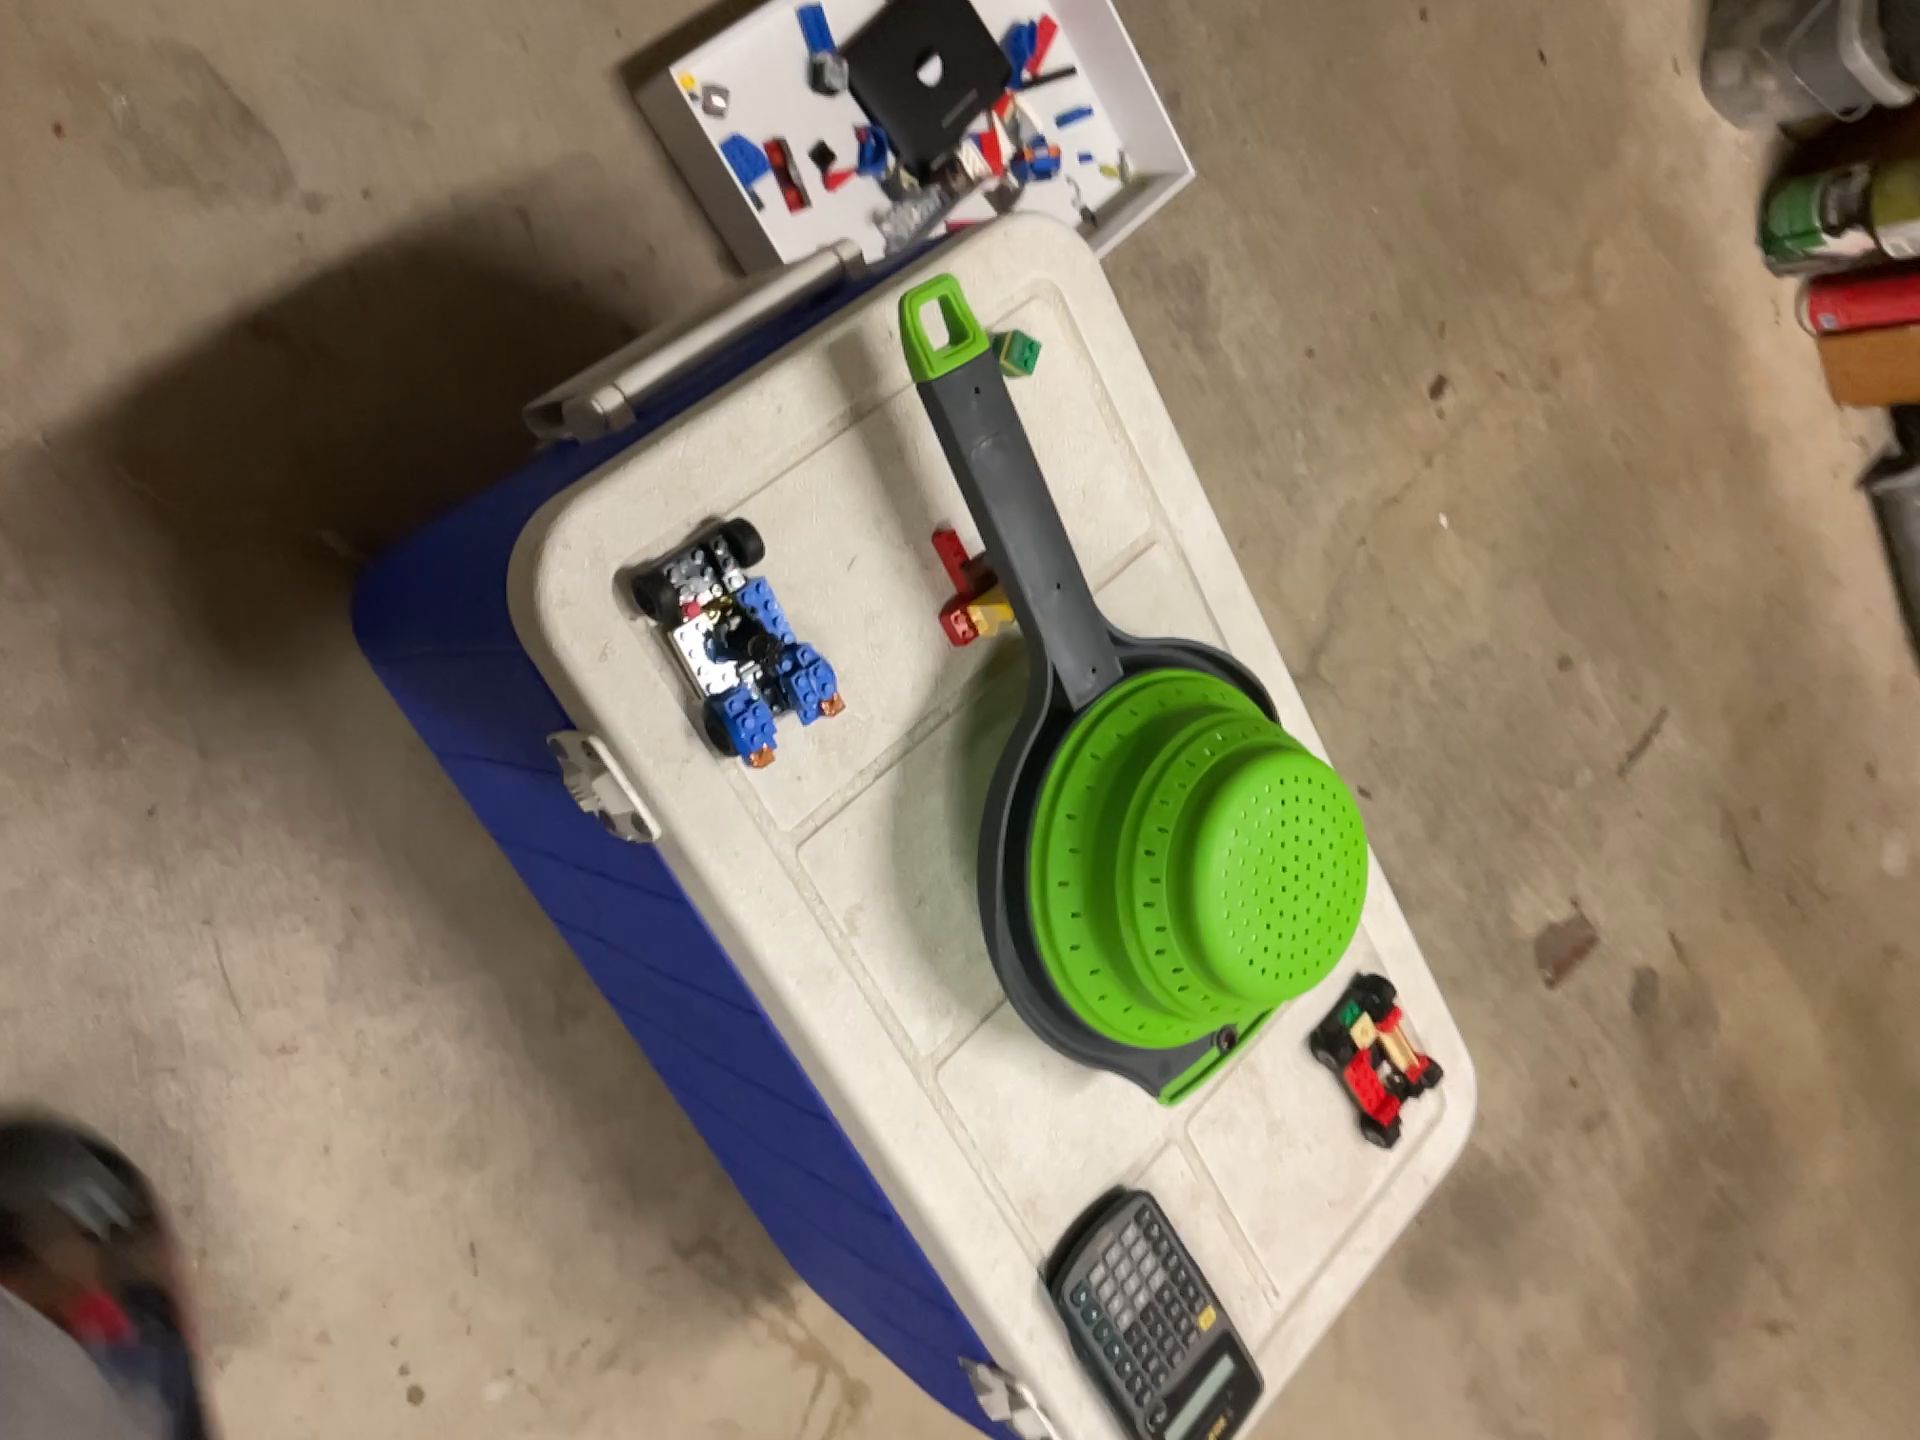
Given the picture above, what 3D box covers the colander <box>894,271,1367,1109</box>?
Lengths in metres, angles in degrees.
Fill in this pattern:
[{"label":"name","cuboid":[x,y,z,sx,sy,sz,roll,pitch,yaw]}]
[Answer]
[{"label":"colander","cuboid":[0.080,-0.006,0.684,0.205,0.094,0.396,-36,112,-30]}]
